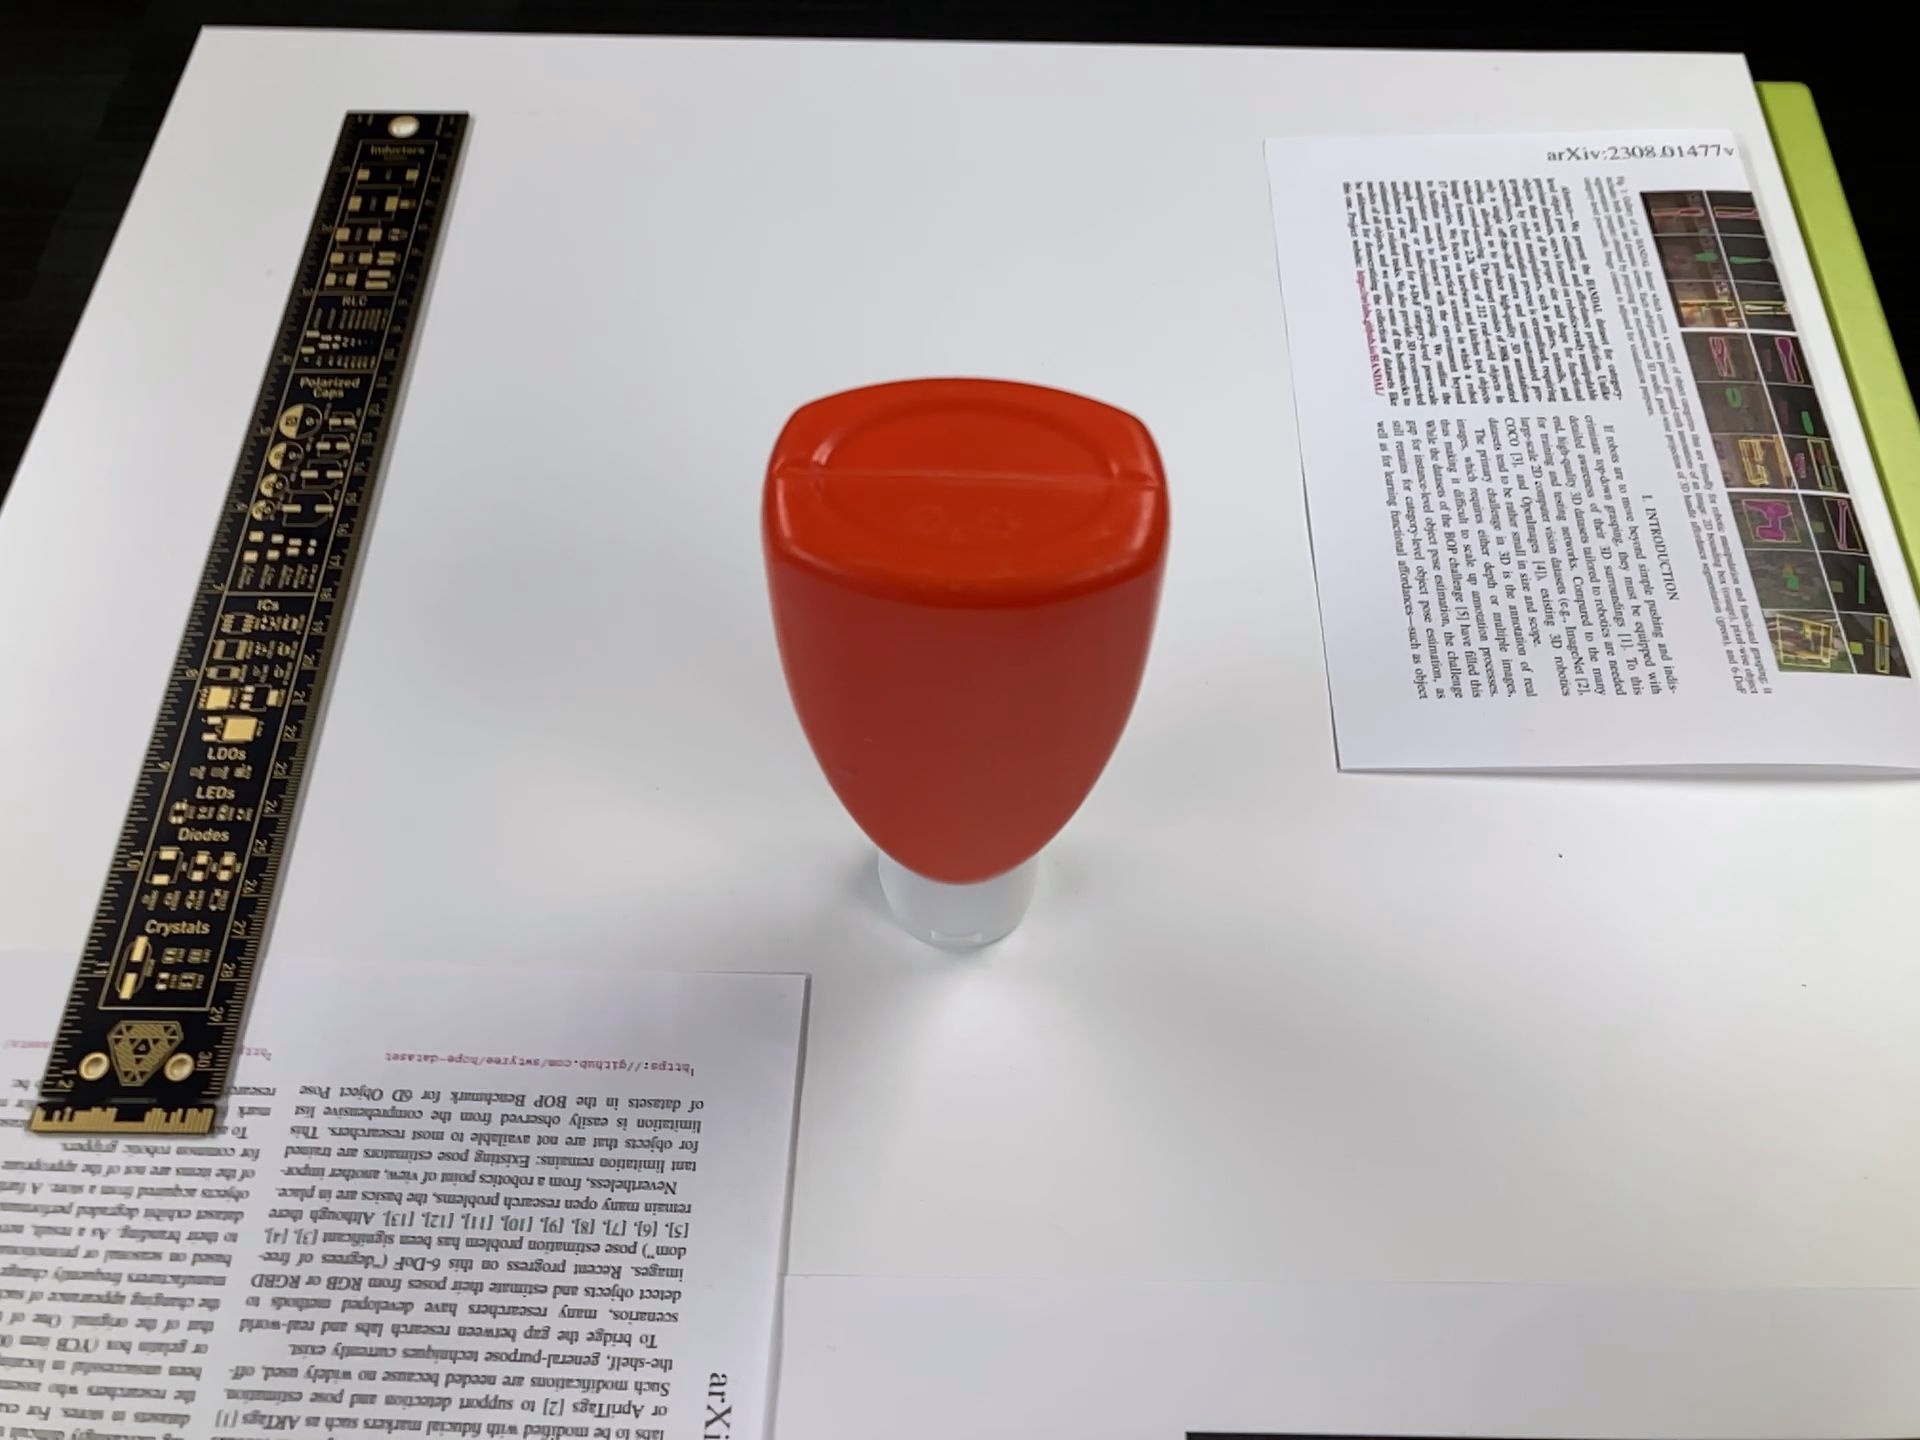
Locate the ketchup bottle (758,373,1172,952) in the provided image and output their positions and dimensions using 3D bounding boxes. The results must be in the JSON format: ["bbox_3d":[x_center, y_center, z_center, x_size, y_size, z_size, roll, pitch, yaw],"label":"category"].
[{"bbox_3d":[0.000,0.000,0.298,0.065,0.149,0.043,2,60,1],"label":"ketchup bottle"}]
